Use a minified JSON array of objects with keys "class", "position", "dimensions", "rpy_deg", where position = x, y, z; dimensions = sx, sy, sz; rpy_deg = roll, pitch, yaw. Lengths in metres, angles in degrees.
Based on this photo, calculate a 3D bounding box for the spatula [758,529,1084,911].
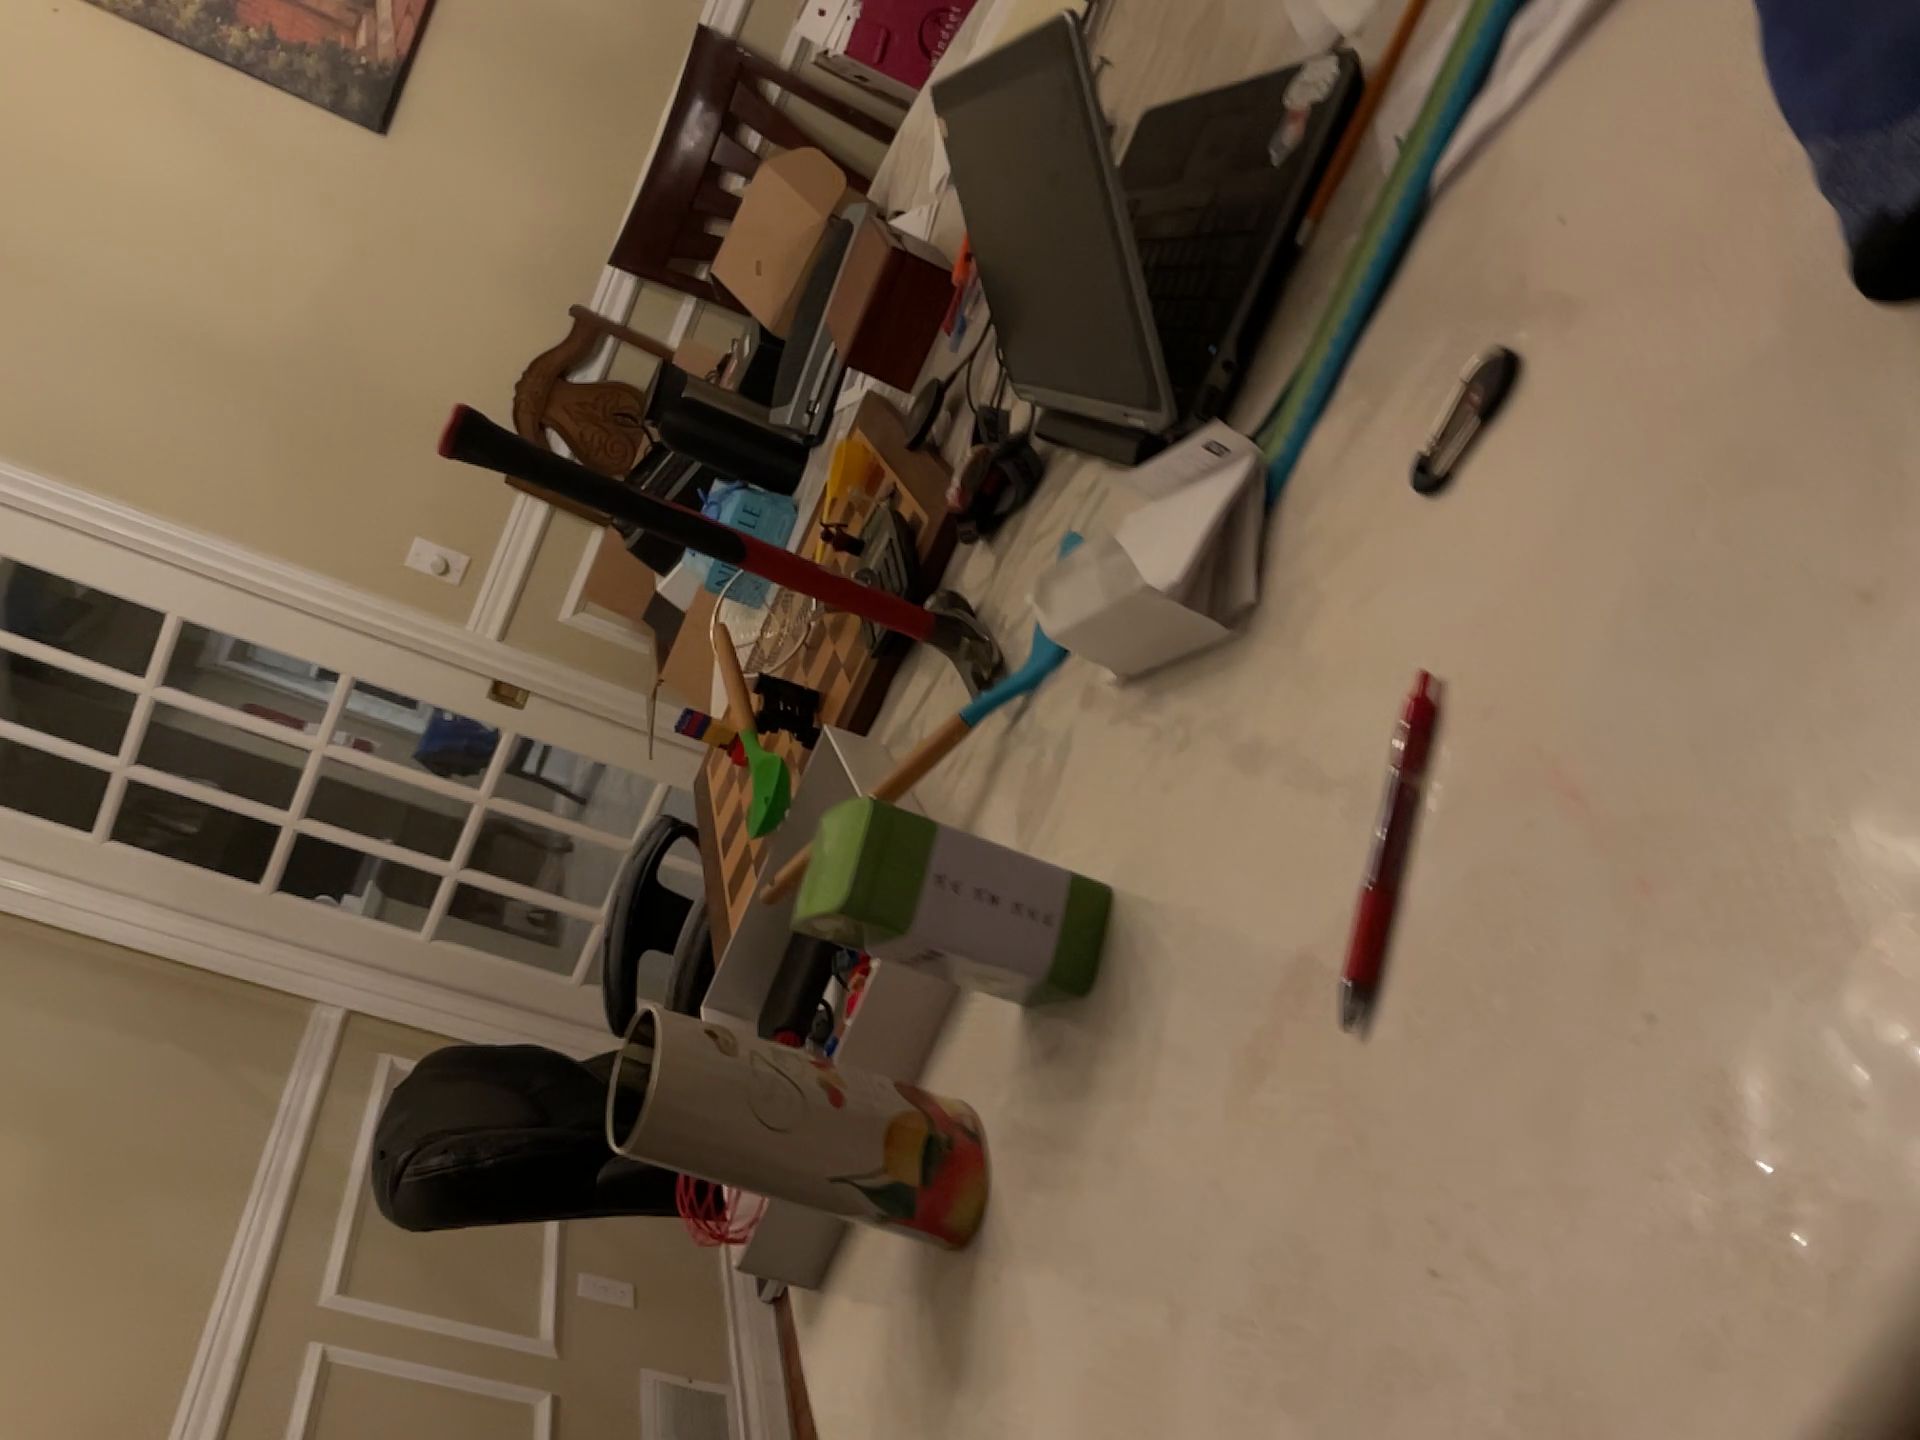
[{"class":"spatula","position":[-0.022,0.010,1.015],"dimensions":[0.317,0.044,0.082],"rpy_deg":[-43,26,11]}]

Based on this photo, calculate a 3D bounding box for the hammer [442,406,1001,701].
[{"class":"hammer","position":[-0.152,-0.112,1.059],"dimensions":[0.038,0.386,0.143],"rpy_deg":[-63,19,16]}]

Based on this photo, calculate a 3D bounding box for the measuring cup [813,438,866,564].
[{"class":"measuring cup","position":[-0.123,-0.202,1.581],"dimensions":[0.062,0.029,0.156],"rpy_deg":[-125,46,-65]}]

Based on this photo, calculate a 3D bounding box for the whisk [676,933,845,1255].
[{"class":"whisk","position":[-0.119,0.230,1.067],"dimensions":[0.073,0.073,0.296],"rpy_deg":[-33,22,32]}]

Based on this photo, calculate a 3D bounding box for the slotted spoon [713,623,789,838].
[{"class":"slotted spoon","position":[-0.185,-0.002,1.365],"dimensions":[0.070,0.031,0.314],"rpy_deg":[-63,28,24]}]

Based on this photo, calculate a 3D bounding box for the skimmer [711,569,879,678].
[{"class":"skimmer","position":[-0.153,-0.108,1.432],"dimensions":[0.127,0.090,0.363],"rpy_deg":[-70,14,-9]}]
